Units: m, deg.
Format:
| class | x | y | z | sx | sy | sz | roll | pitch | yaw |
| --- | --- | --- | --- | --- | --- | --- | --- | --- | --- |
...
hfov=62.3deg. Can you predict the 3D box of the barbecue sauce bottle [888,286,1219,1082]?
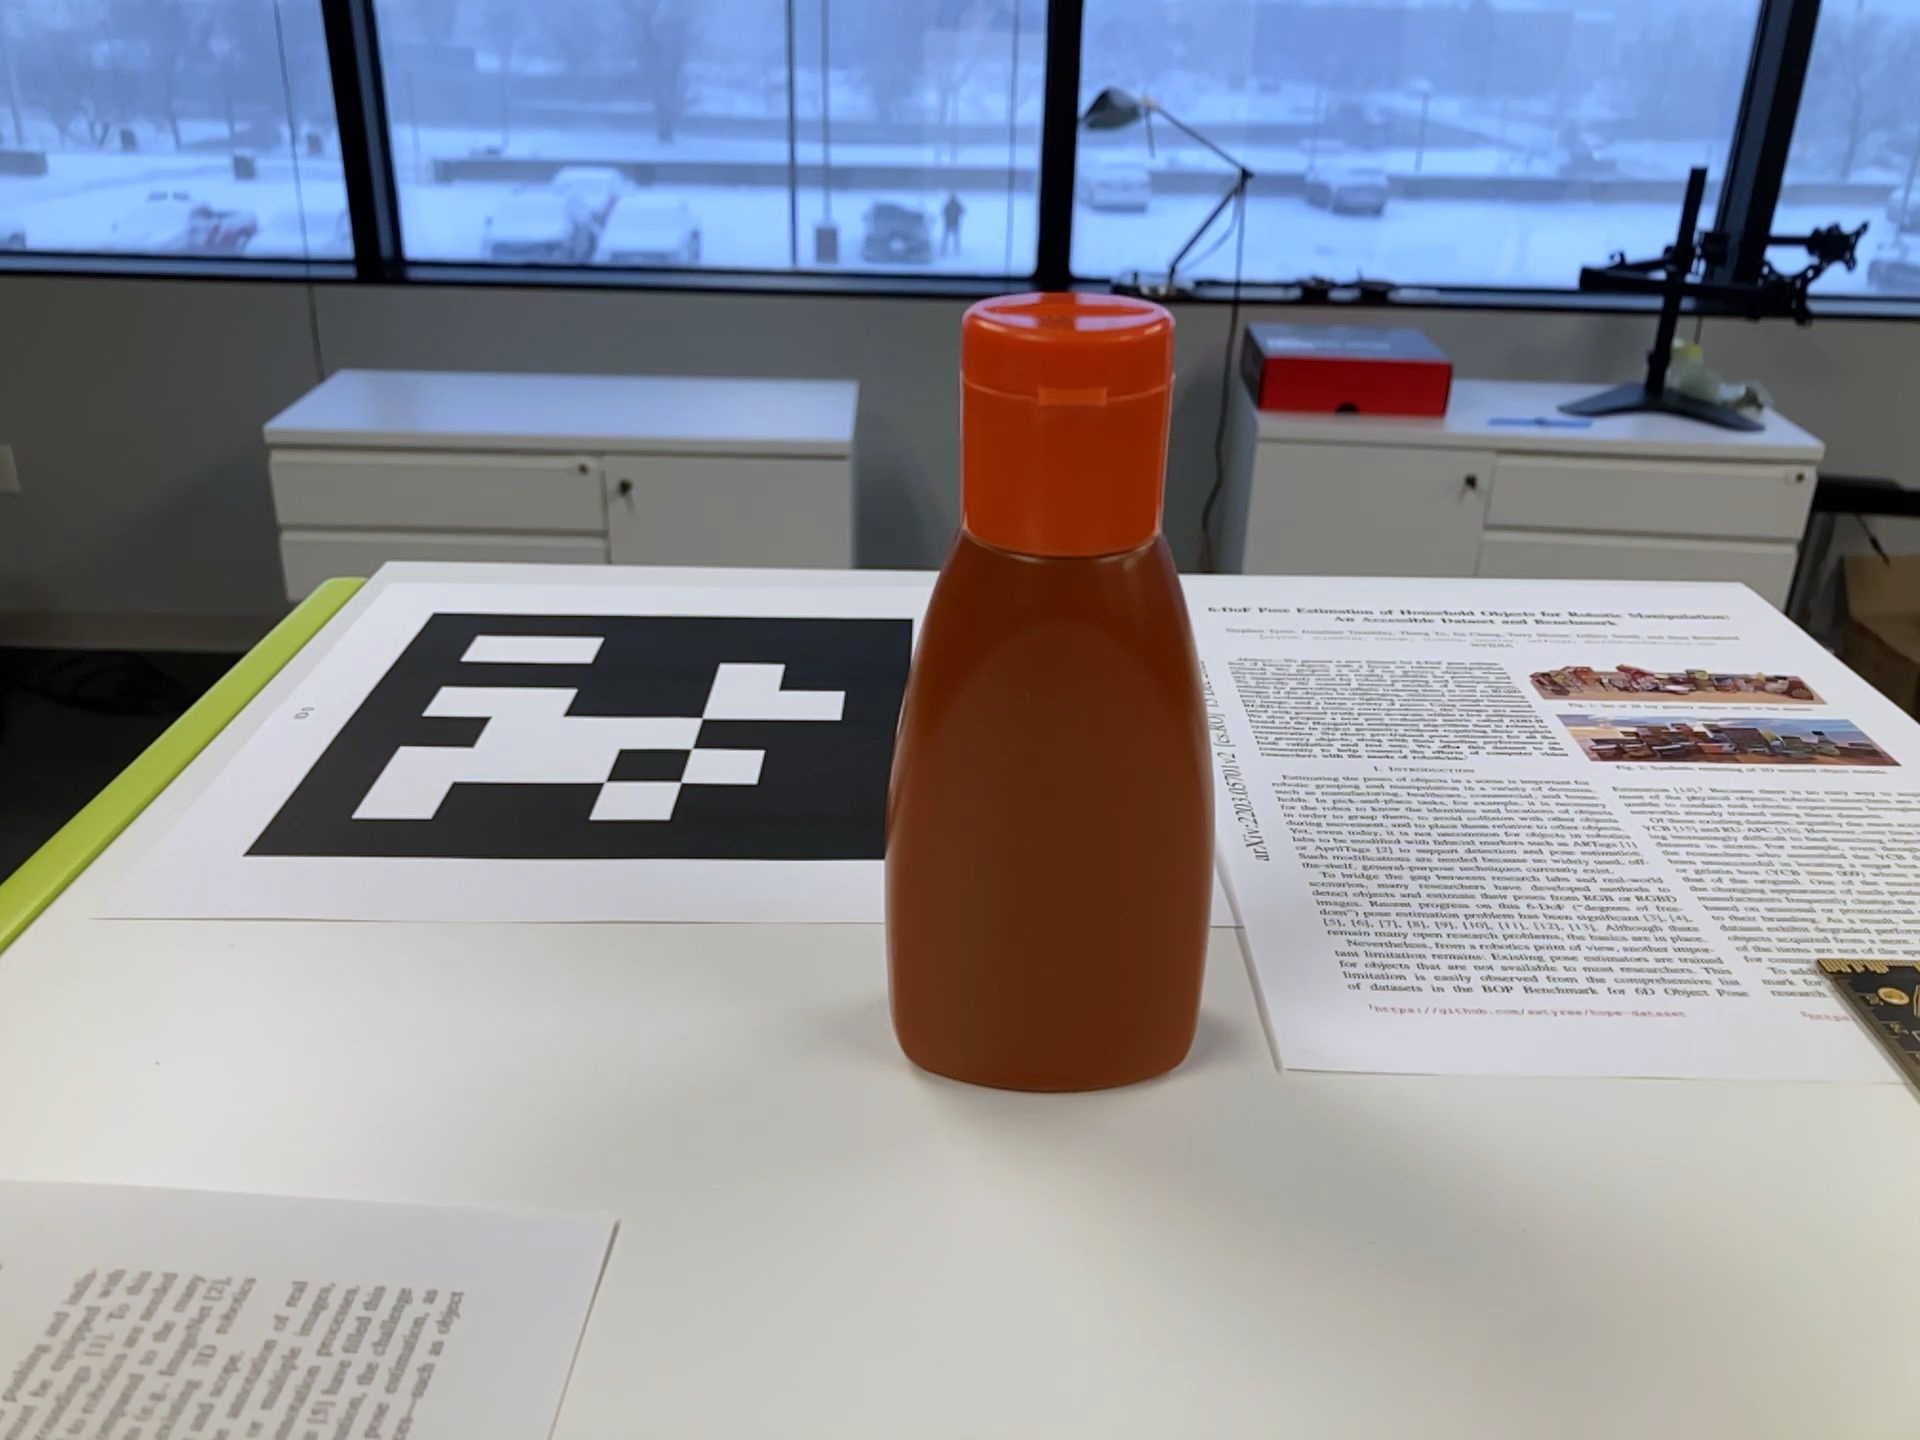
| class | x | y | z | sx | sy | sz | roll | pitch | yaw |
| --- | --- | --- | --- | --- | --- | --- | --- | --- | --- |
| barbecue sauce bottle | 0.018 | -0.004 | 0.300 | 0.065 | 0.148 | 0.043 | 1 | 25 | 1 |
